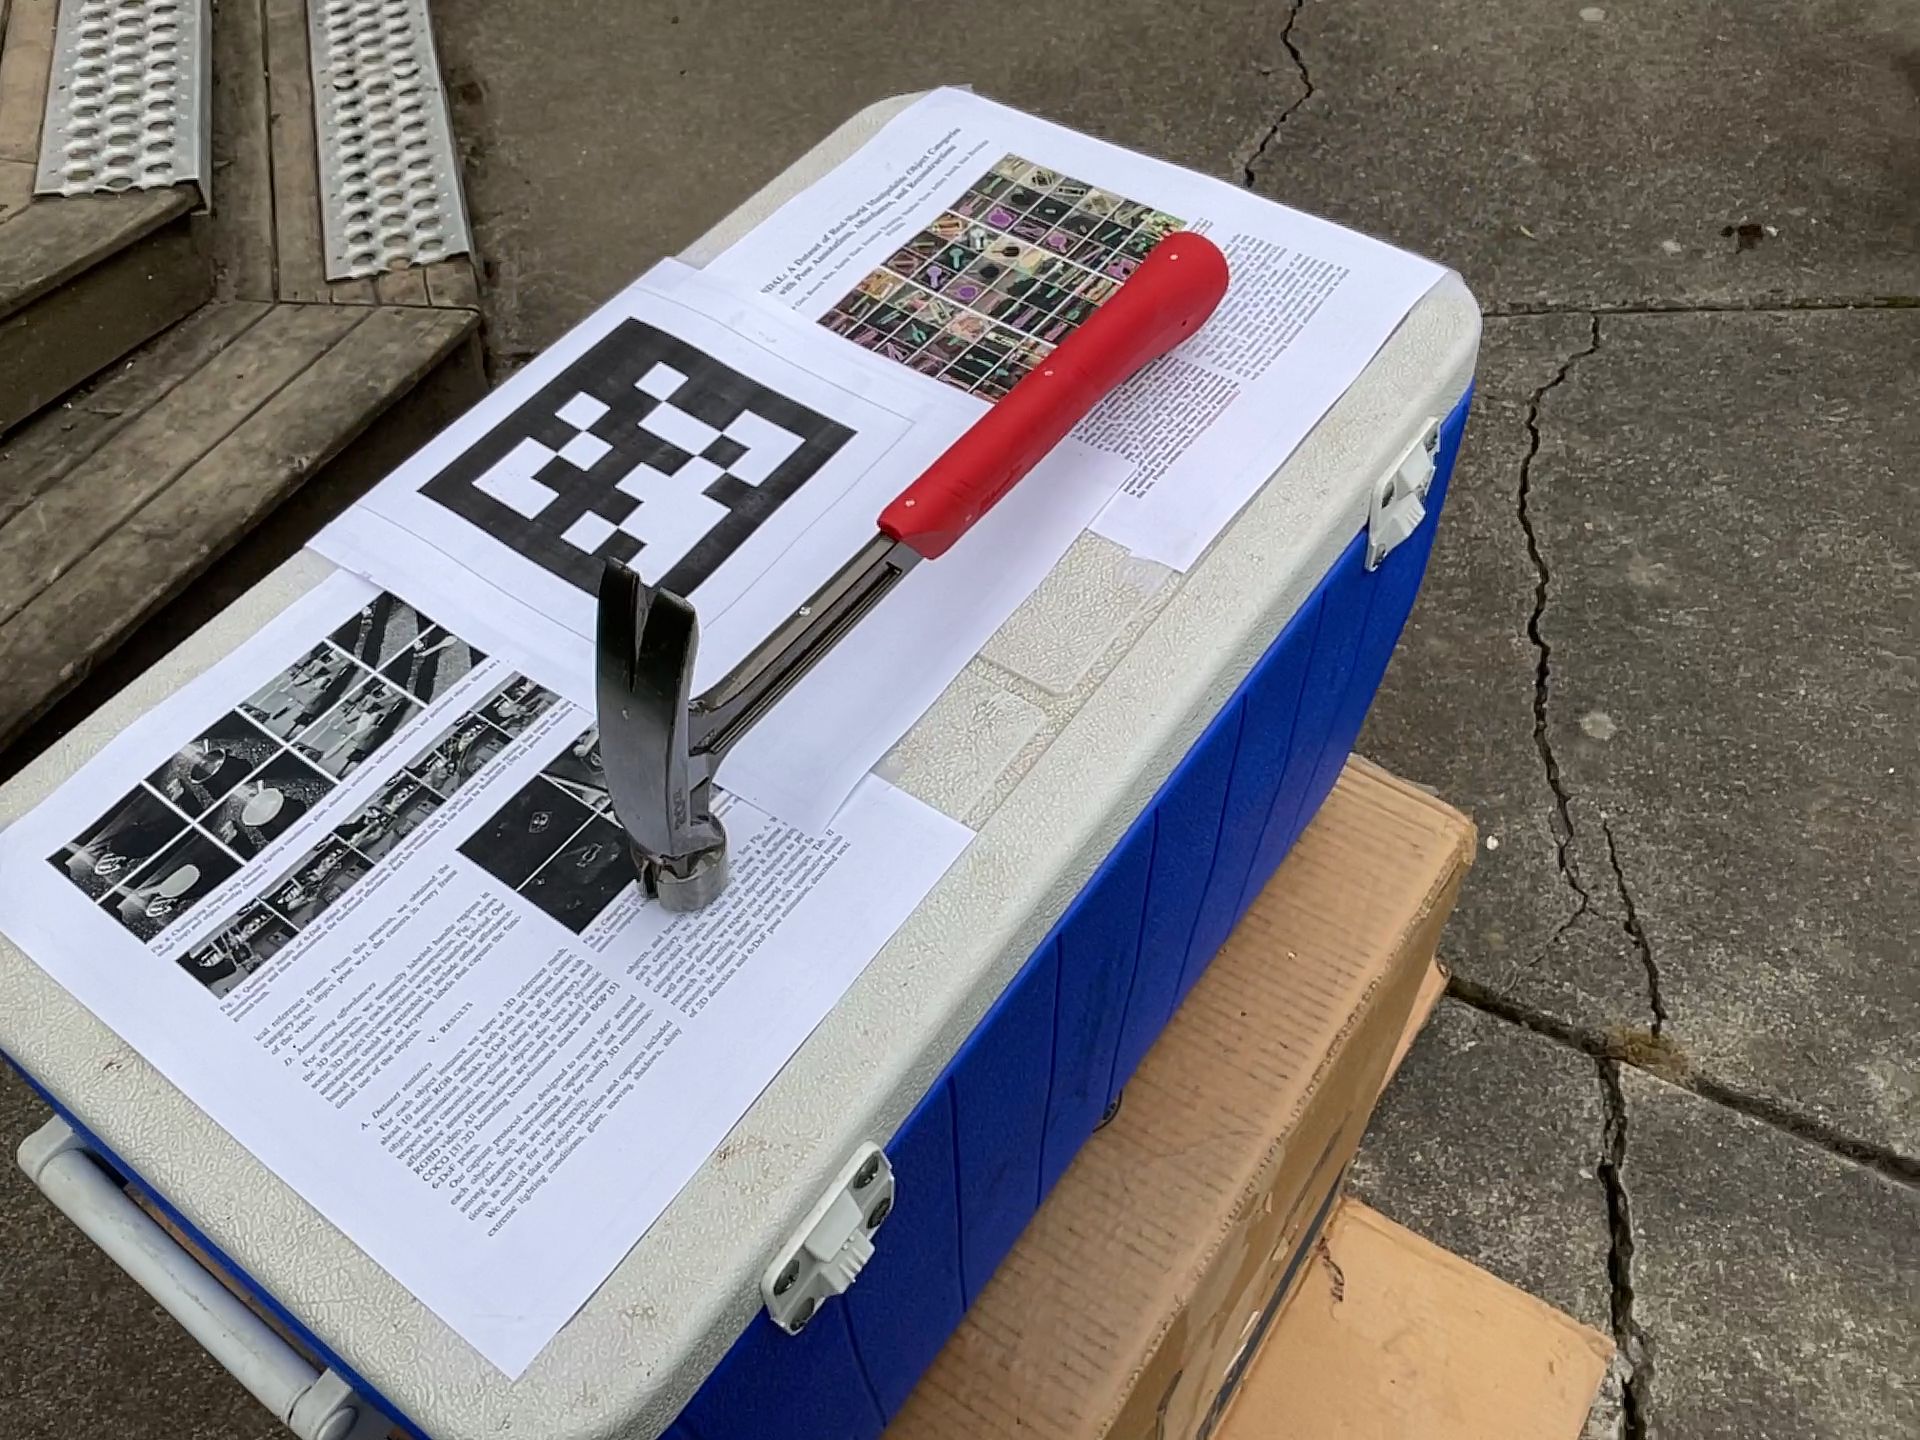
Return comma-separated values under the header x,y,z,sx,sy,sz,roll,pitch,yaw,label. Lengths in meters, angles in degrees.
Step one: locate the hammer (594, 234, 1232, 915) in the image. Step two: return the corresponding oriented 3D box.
x,y,z,sx,sy,sz,roll,pitch,yaw,label
0.002,-0.091,0.573,0.037,0.149,0.359,30,53,17,hammer
